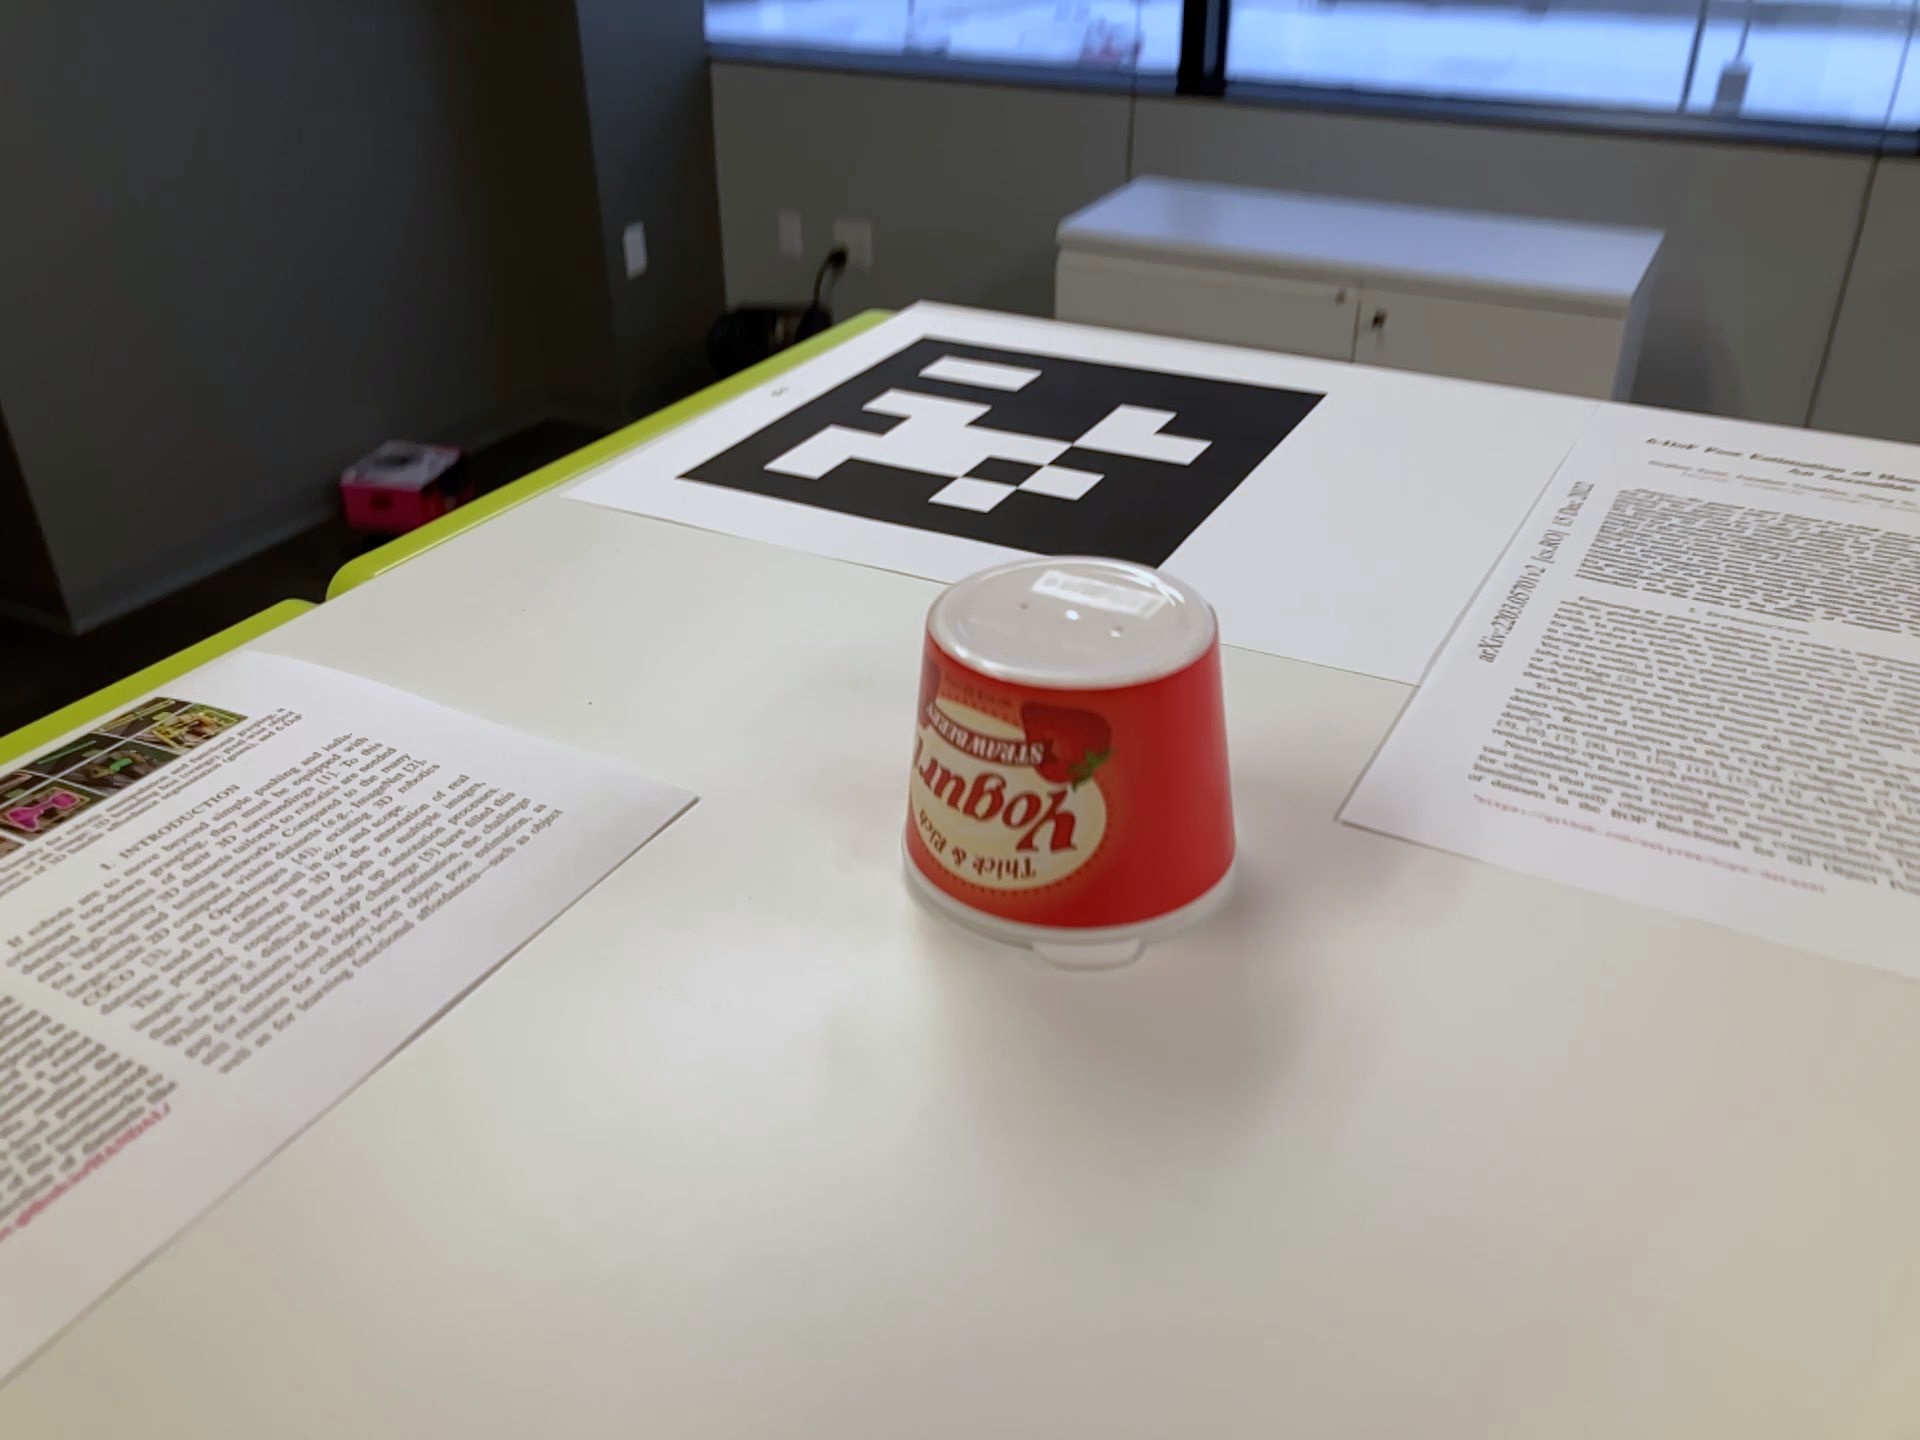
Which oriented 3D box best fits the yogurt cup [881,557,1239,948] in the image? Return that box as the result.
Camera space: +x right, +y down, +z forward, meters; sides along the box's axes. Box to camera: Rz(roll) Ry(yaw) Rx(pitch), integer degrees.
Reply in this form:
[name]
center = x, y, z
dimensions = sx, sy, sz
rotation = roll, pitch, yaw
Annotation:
[yogurt cup]
center = 0.021, 0.003, 0.309
dimensions = 0.072, 0.054, 0.072
rotation = -2, 30, 1
